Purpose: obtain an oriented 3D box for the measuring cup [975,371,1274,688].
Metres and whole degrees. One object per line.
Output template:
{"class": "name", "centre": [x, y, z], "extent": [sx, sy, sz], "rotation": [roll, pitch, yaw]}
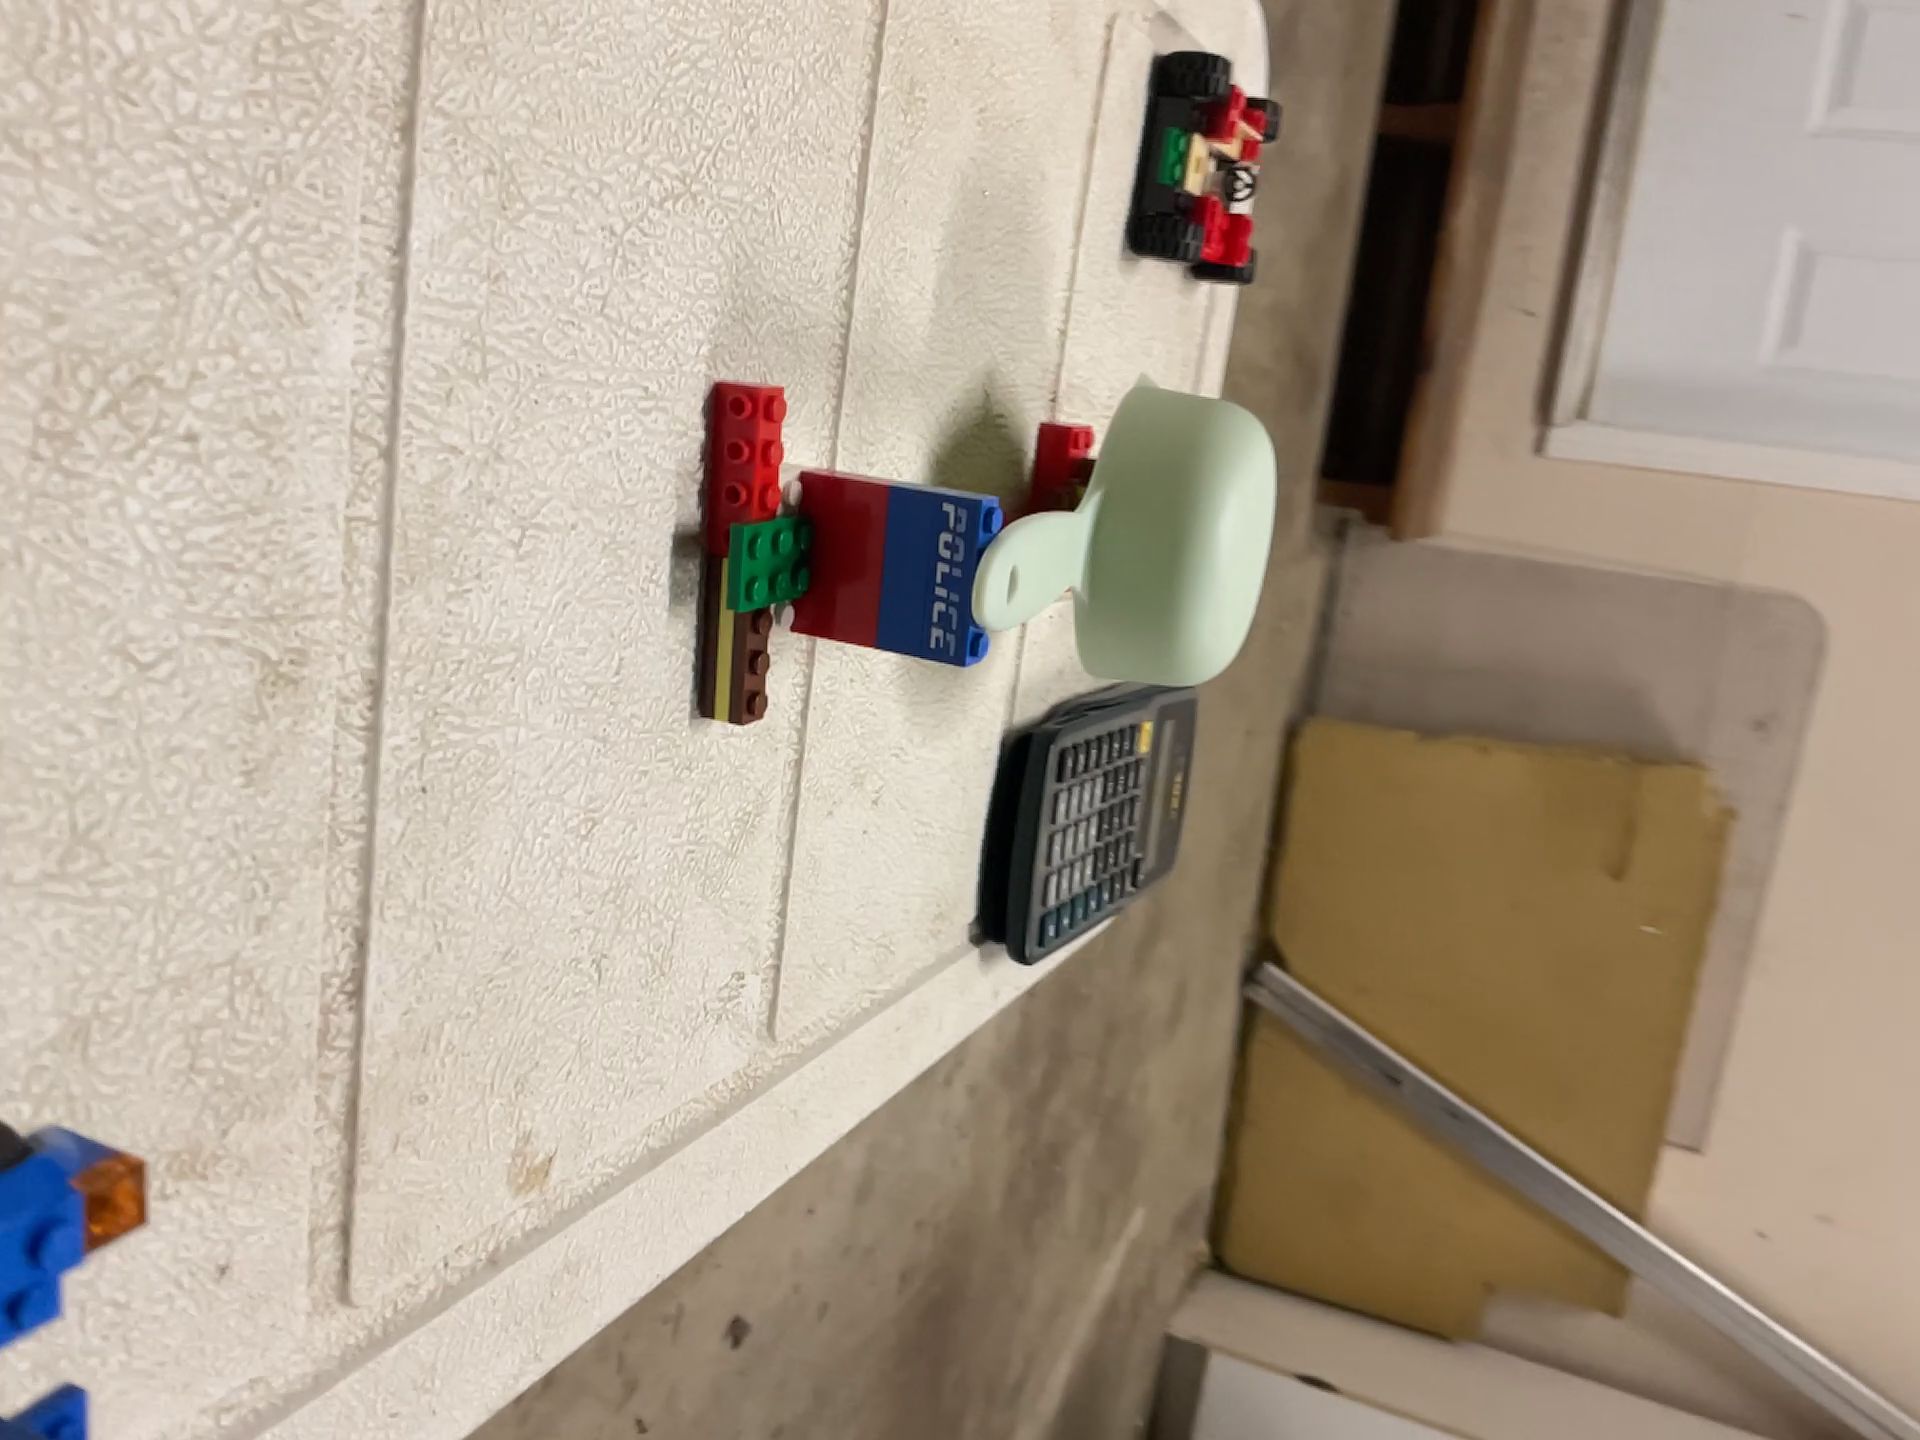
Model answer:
{"class": "measuring cup", "centre": [0.043, -0.037, 0.370], "extent": [0.167, 0.038, 0.083], "rotation": [-31, 130, -69]}
